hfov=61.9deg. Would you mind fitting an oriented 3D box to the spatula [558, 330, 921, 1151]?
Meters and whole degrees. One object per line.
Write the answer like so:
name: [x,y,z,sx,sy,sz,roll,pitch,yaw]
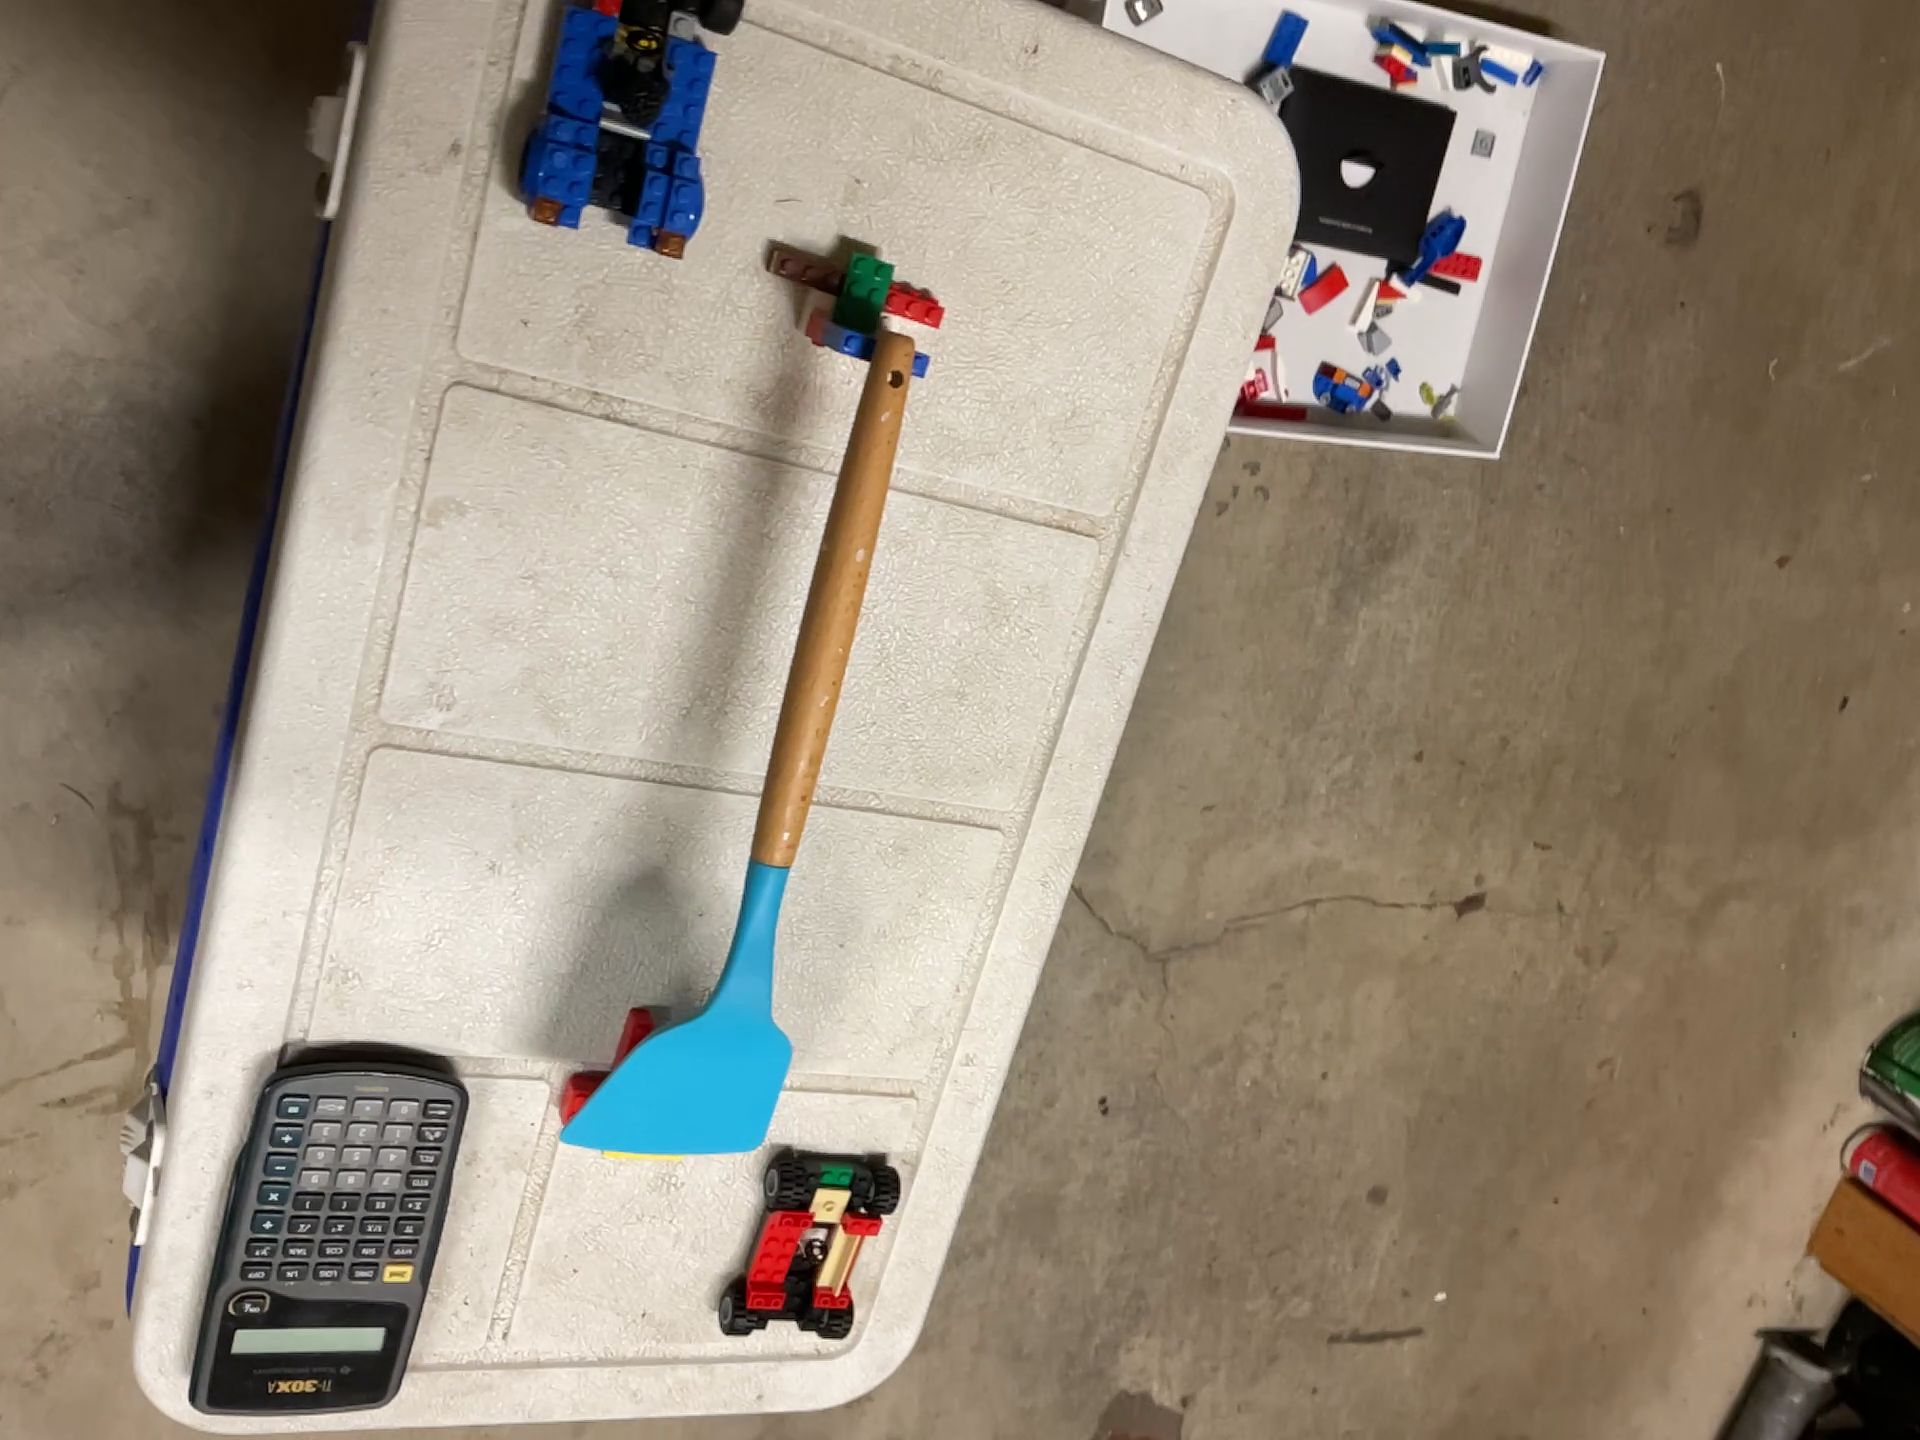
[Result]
spatula: [-0.065,0.021,0.561,0.082,0.044,0.317,10,103,-26]
